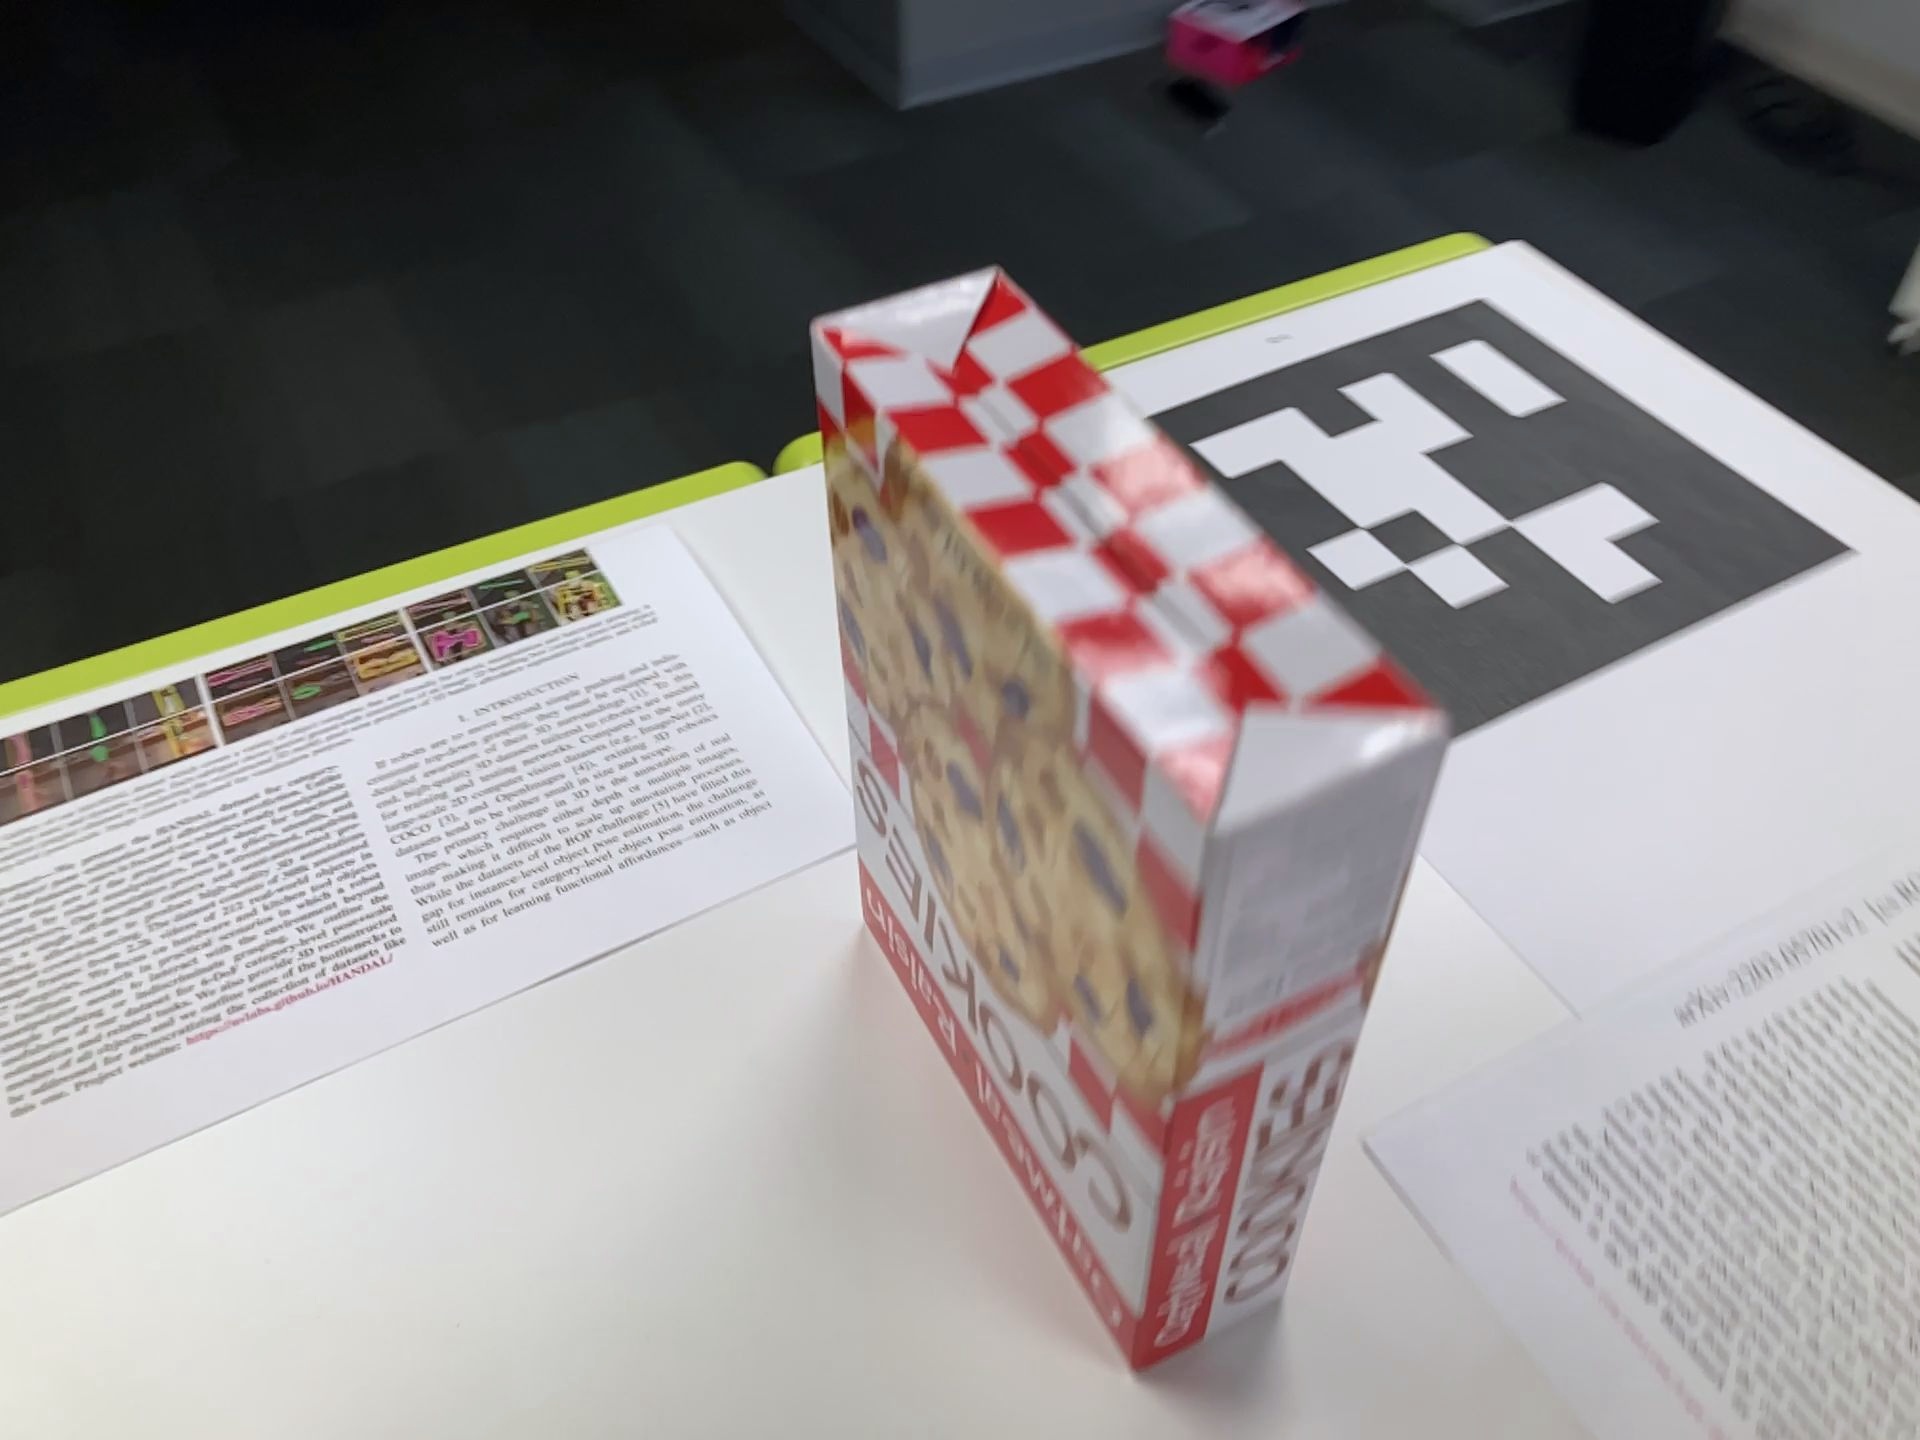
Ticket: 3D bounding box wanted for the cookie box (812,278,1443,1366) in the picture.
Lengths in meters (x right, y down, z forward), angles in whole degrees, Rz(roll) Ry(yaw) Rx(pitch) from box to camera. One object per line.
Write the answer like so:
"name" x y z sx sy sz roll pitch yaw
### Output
"cookie box" 0.020 0.025 0.292 0.040 0.167 0.123 -21 49 -18
